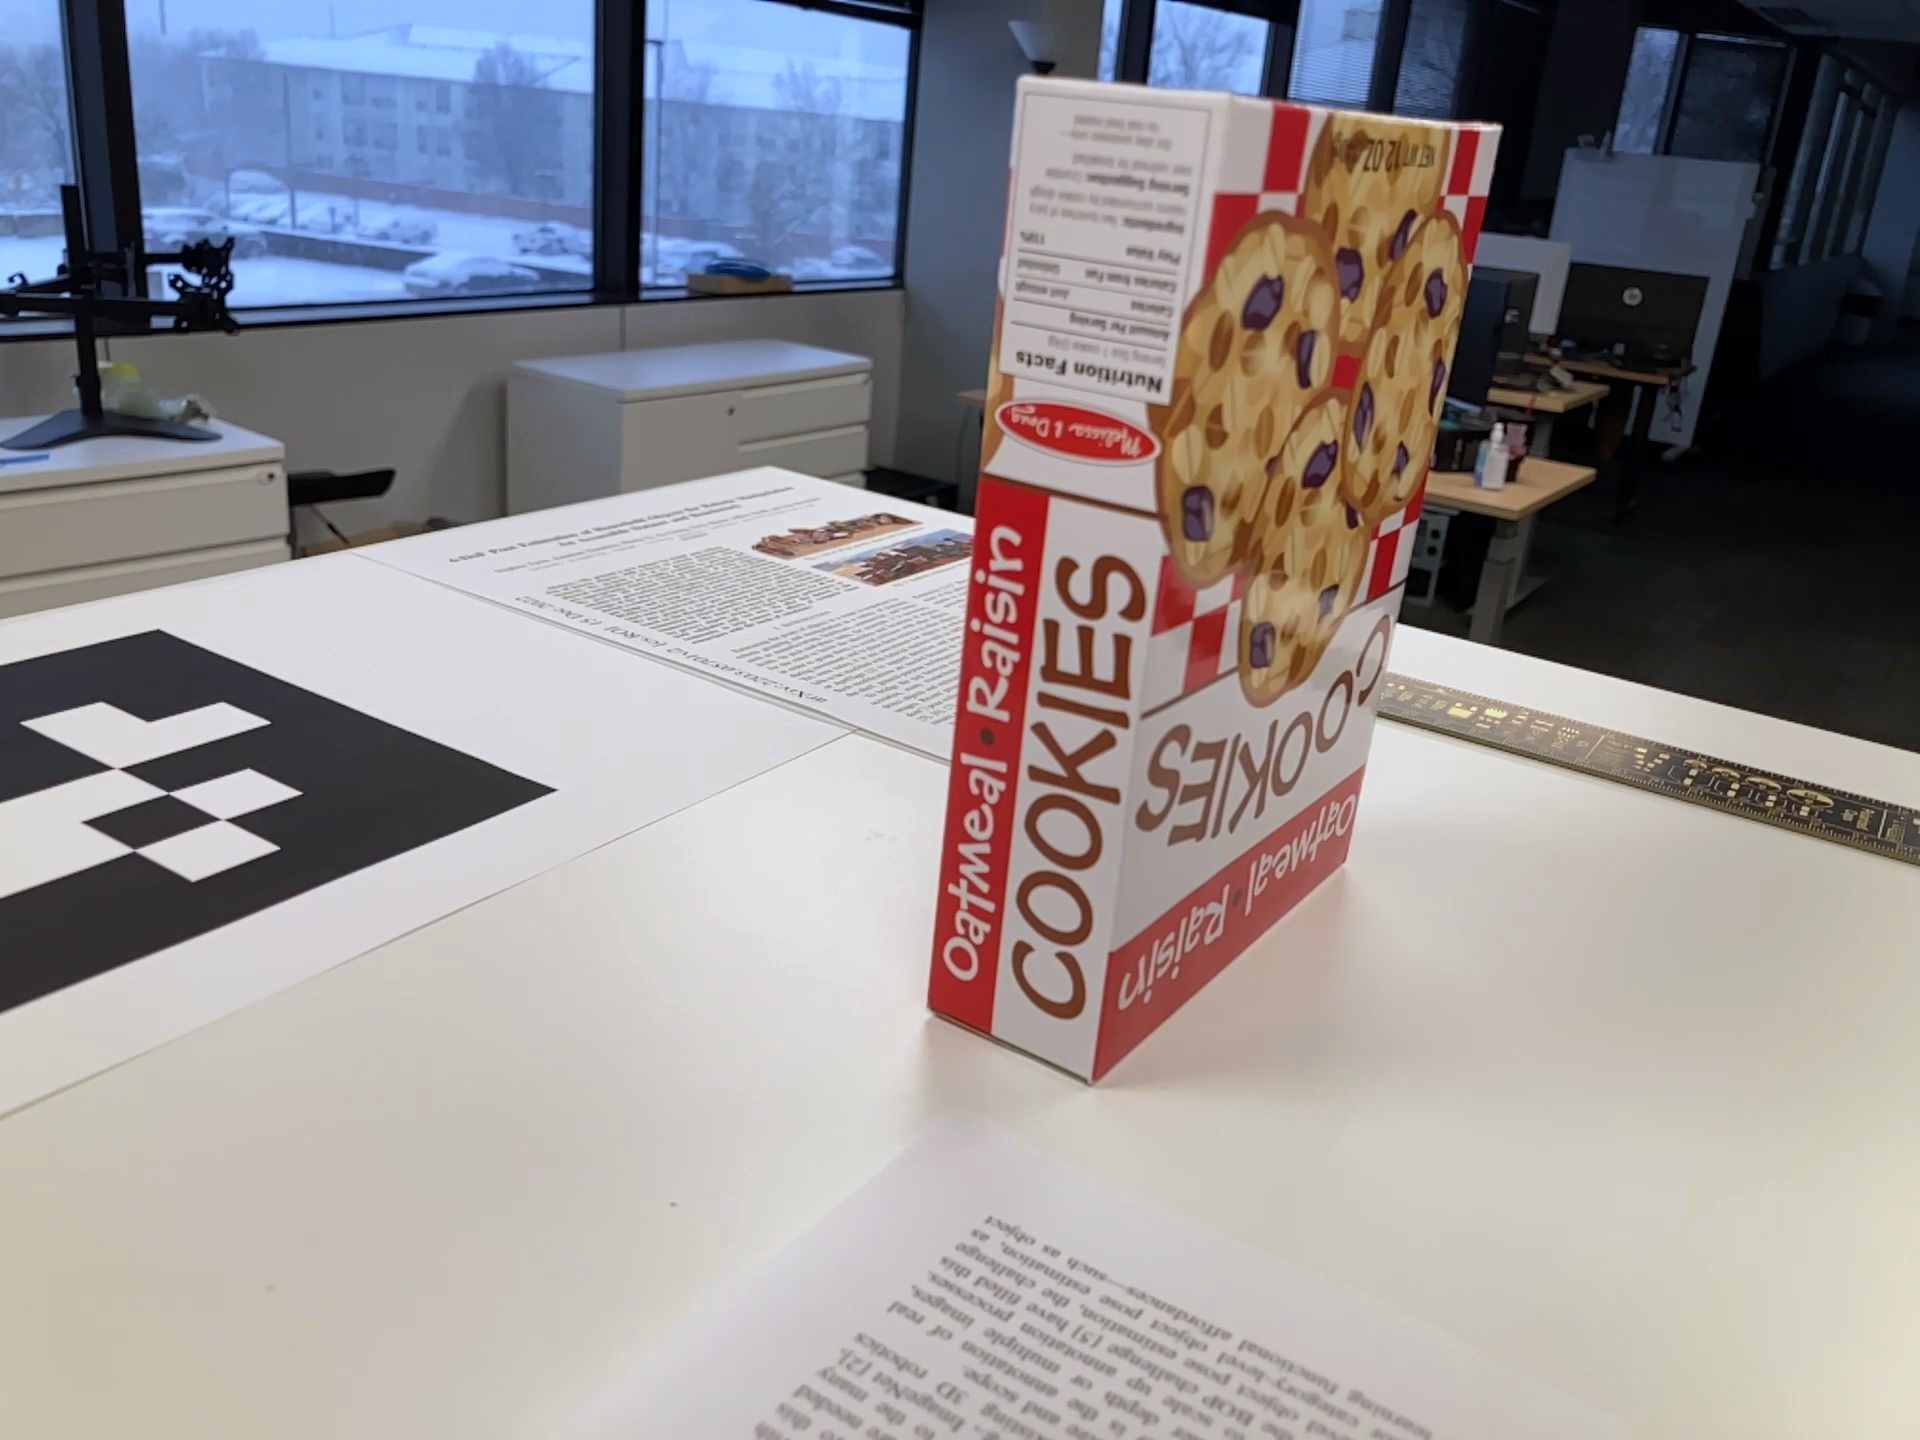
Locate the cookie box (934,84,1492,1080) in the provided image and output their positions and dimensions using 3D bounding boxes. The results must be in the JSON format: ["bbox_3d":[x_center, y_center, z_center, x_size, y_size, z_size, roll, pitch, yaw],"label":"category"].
[{"bbox_3d":[0.050,-0.031,0.312,0.040,0.167,0.123,19,25,30],"label":"cookie box"}]
